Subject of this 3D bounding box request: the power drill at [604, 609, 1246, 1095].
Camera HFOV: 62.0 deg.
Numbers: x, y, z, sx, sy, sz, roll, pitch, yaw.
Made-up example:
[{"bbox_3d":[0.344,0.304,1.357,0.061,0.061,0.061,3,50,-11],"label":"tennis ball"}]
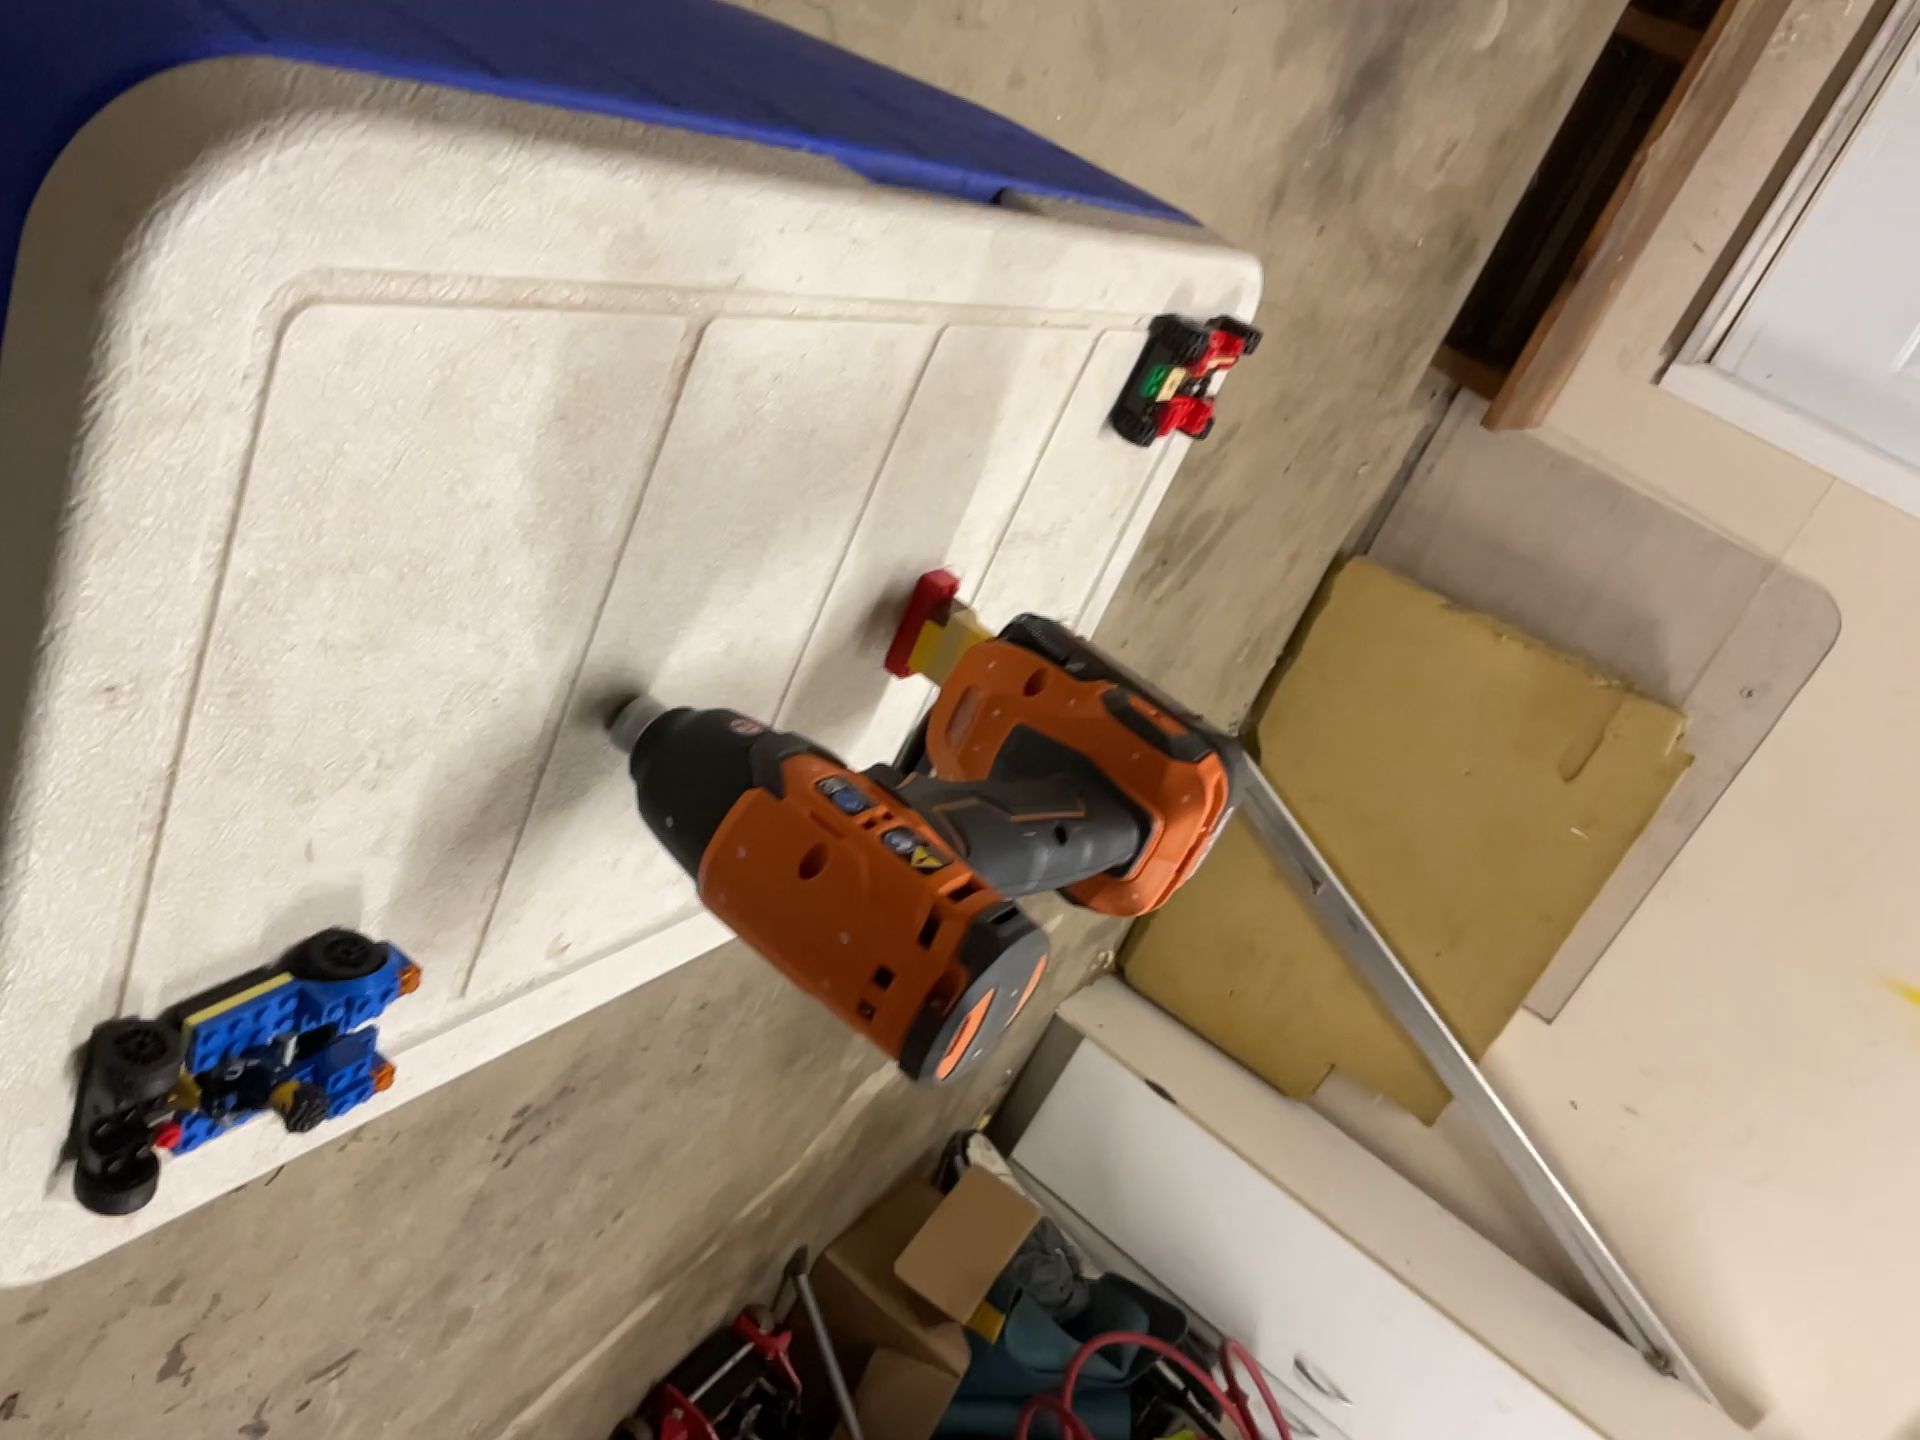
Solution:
[{"bbox_3d":[-0.008,0.026,0.564,0.226,0.164,0.084,-22,143,-57],"label":"power drill"}]
